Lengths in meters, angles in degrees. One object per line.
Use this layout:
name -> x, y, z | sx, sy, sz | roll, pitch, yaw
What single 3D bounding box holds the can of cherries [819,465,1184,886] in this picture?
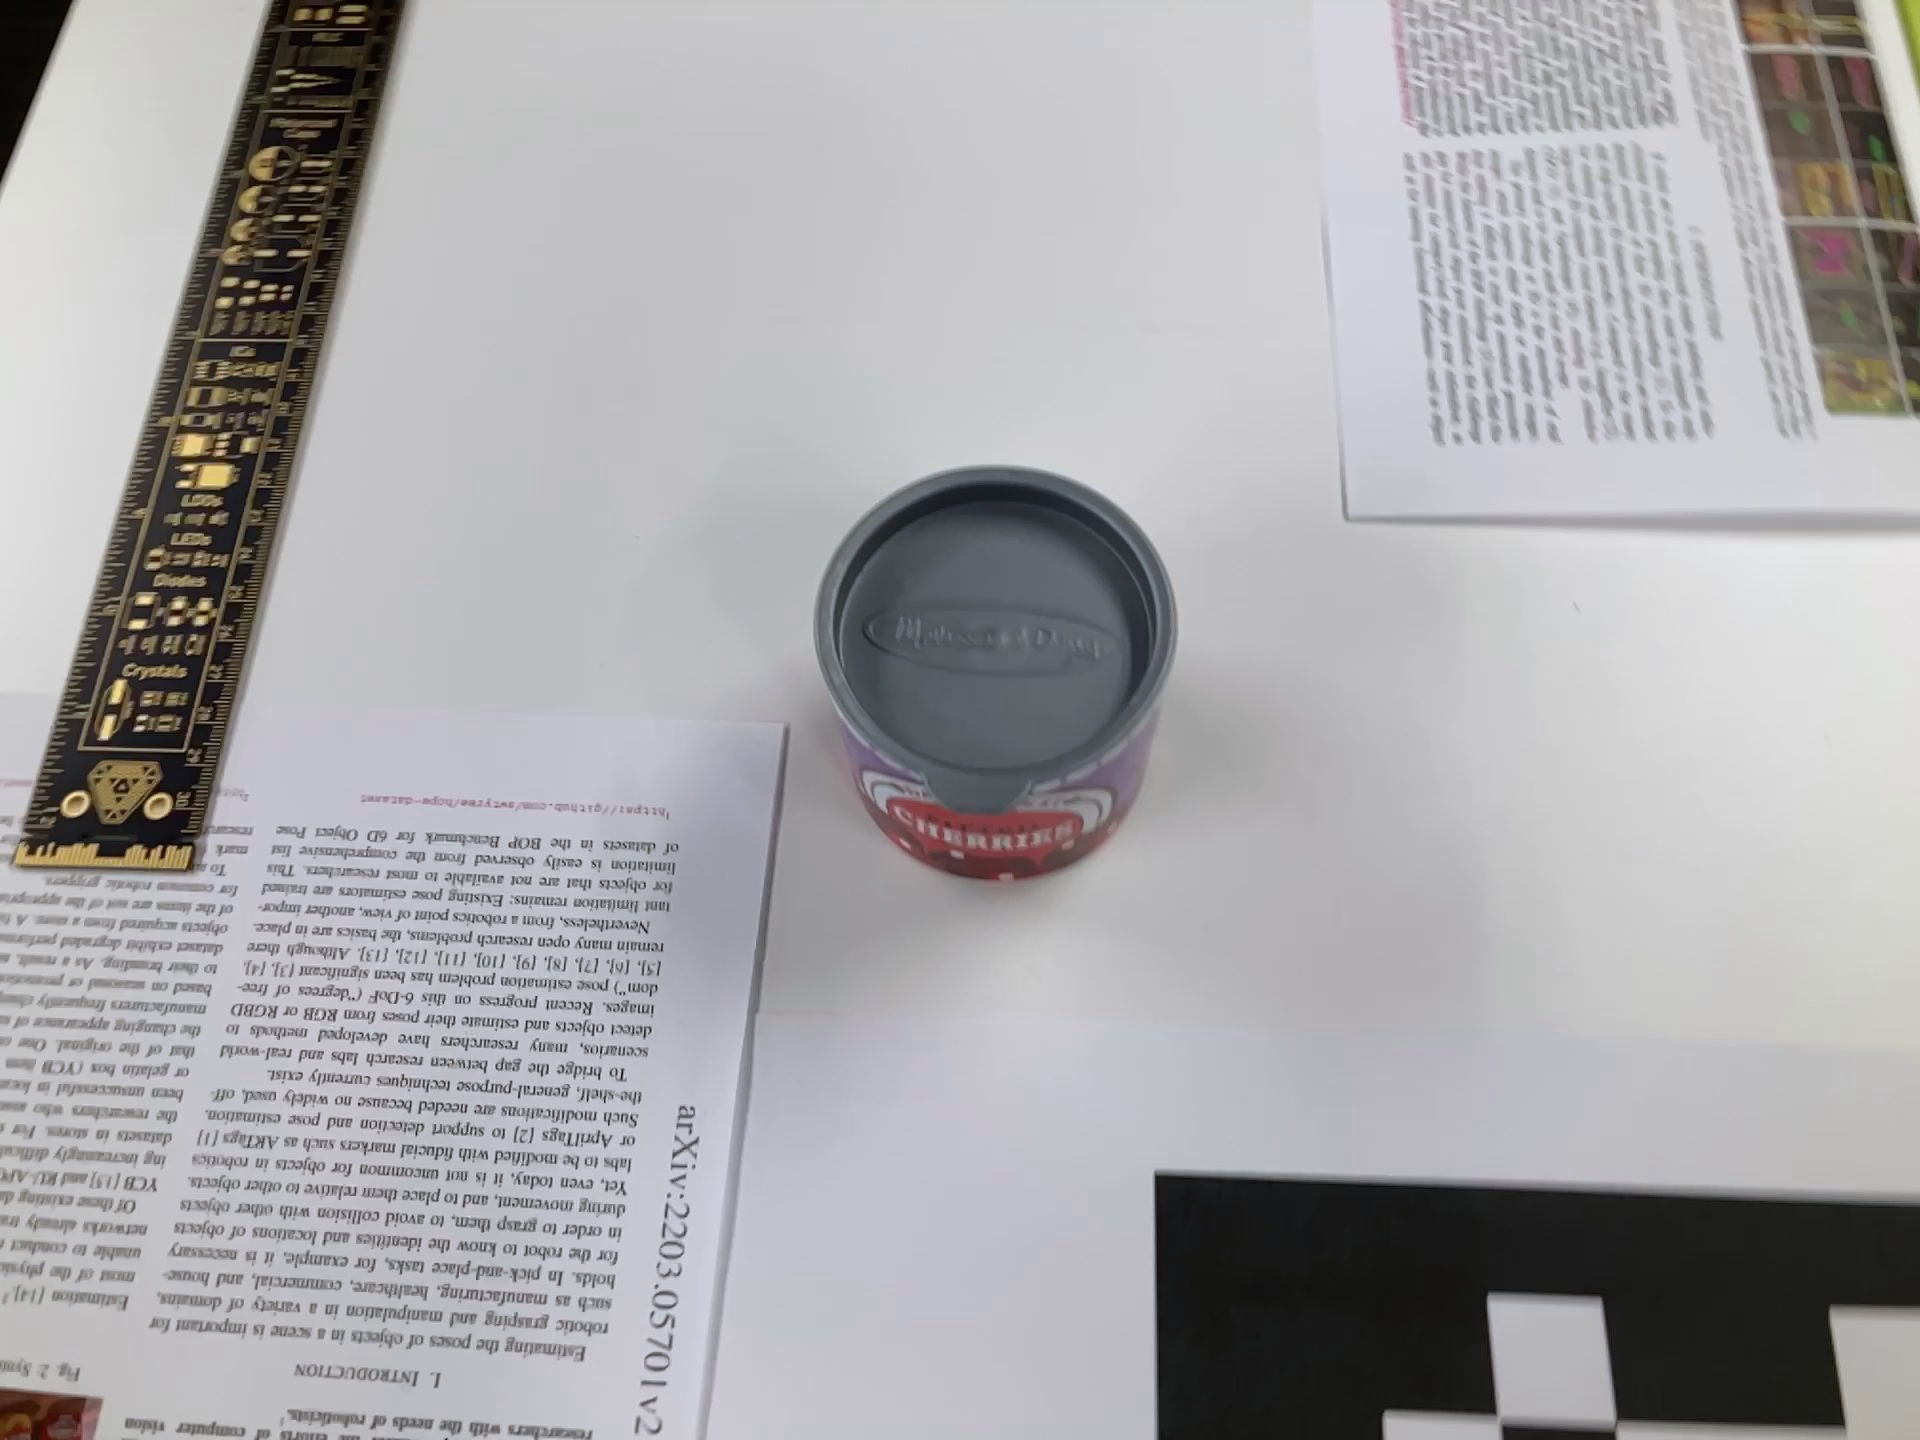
can of cherries -> 0.008, -0.005, 0.312 | 0.071, 0.058, 0.071 | -1, 66, 2
